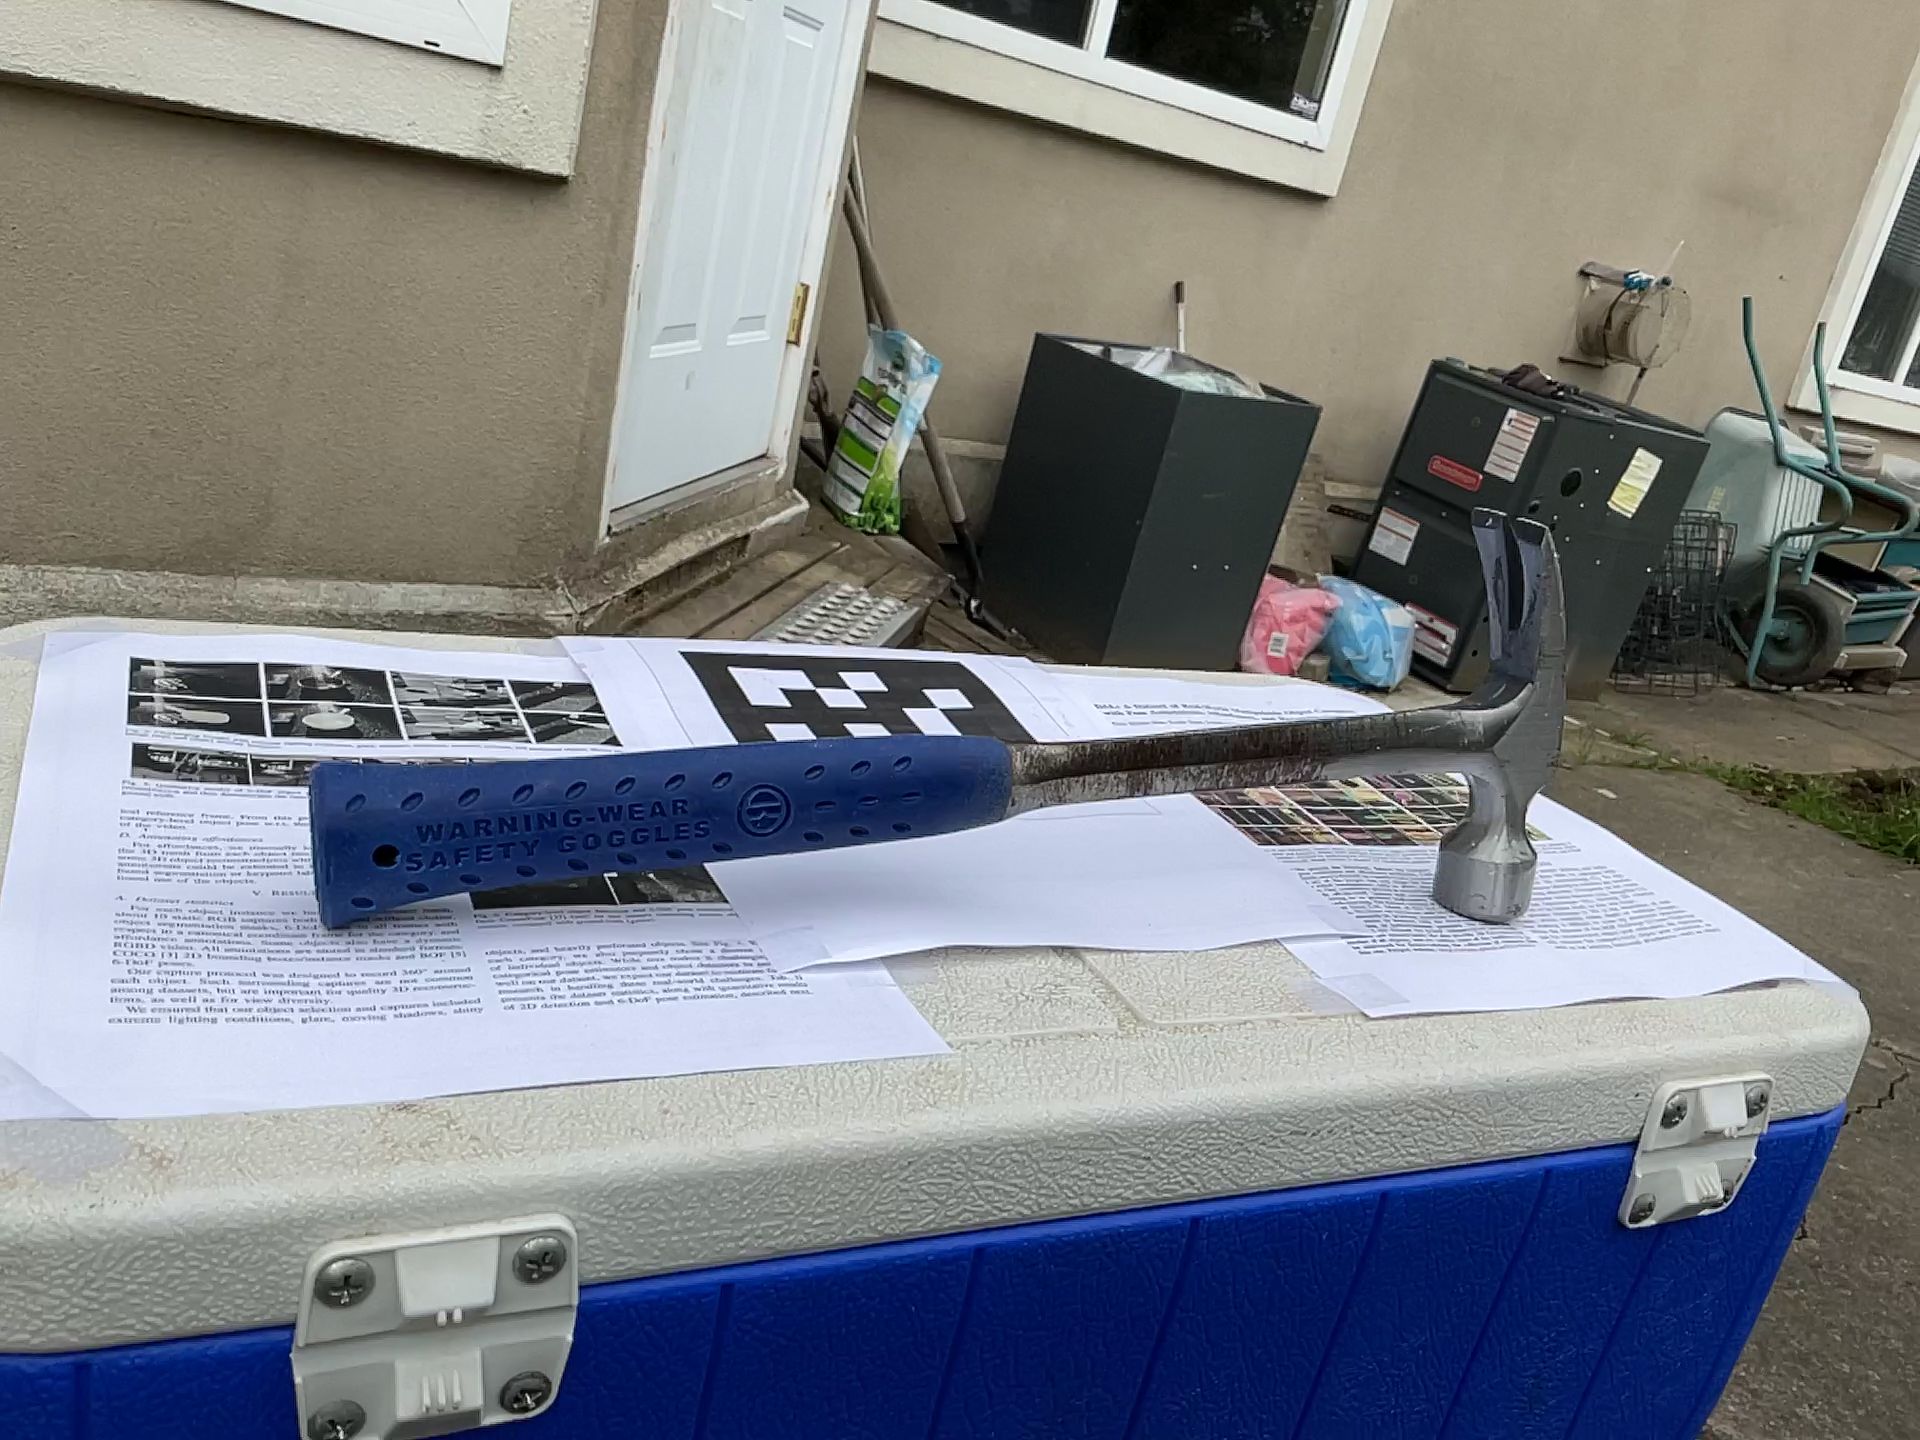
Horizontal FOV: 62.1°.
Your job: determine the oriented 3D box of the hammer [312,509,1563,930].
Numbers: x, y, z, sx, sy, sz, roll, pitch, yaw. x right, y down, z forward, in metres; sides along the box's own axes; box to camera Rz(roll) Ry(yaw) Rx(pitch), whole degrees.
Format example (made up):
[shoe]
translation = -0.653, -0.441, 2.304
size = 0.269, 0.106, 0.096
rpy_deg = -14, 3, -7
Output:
[hammer]
translation = 0.022, 0.012, 0.485
size = 0.405, 0.144, 0.035
rpy_deg = -4, 18, -23
